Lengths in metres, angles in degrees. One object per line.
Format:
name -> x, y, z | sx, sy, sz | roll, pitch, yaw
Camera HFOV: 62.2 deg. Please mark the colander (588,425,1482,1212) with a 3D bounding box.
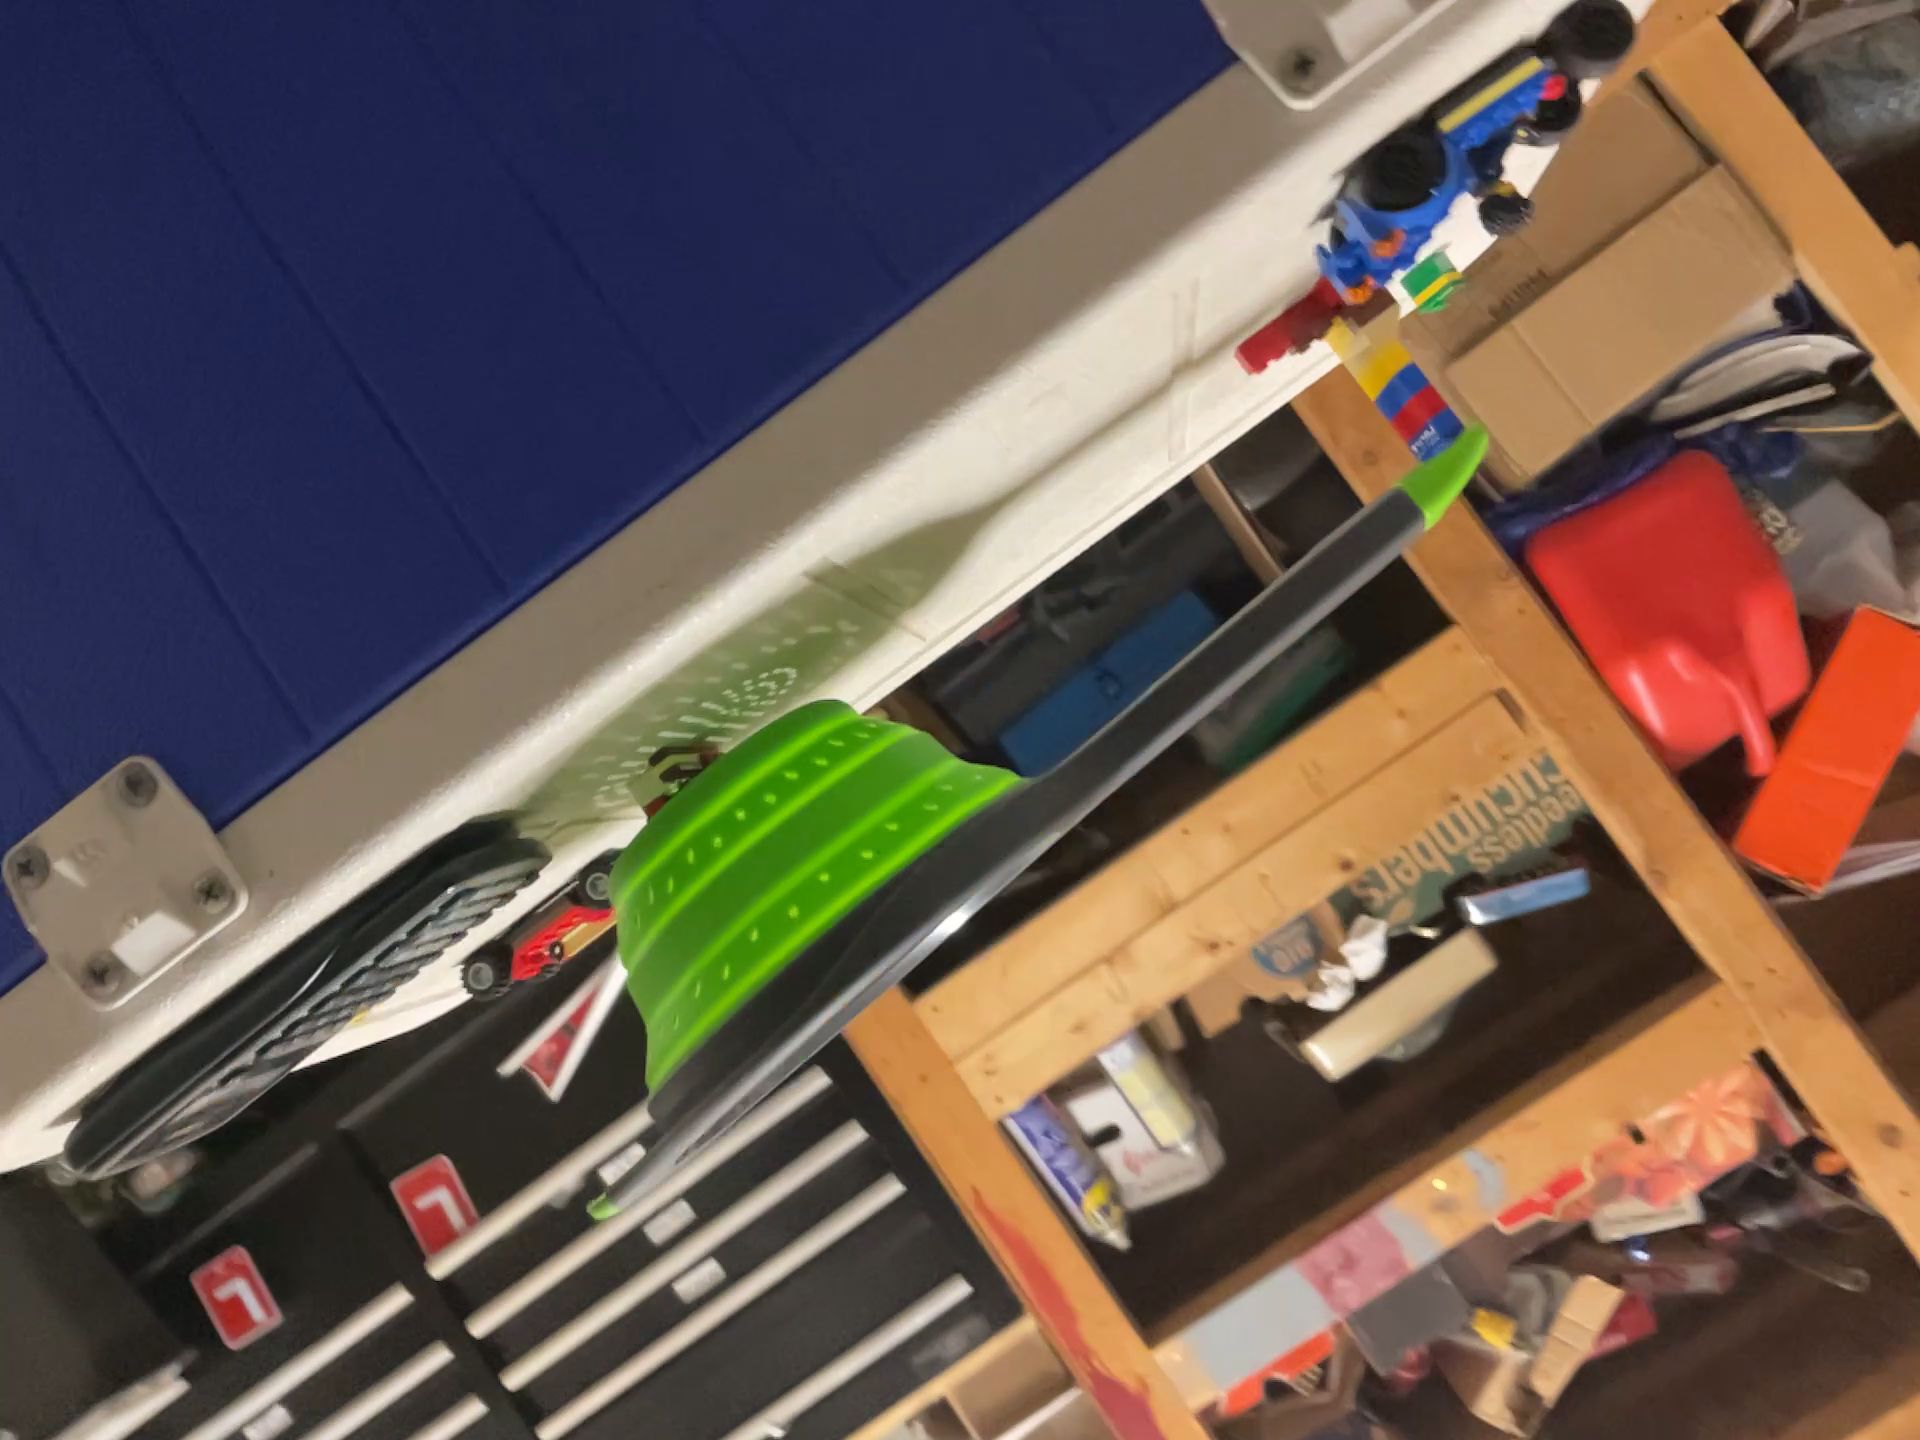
colander -> 0.006, 0.006, 0.567 | 0.397, 0.094, 0.204 | -41, 172, 2
